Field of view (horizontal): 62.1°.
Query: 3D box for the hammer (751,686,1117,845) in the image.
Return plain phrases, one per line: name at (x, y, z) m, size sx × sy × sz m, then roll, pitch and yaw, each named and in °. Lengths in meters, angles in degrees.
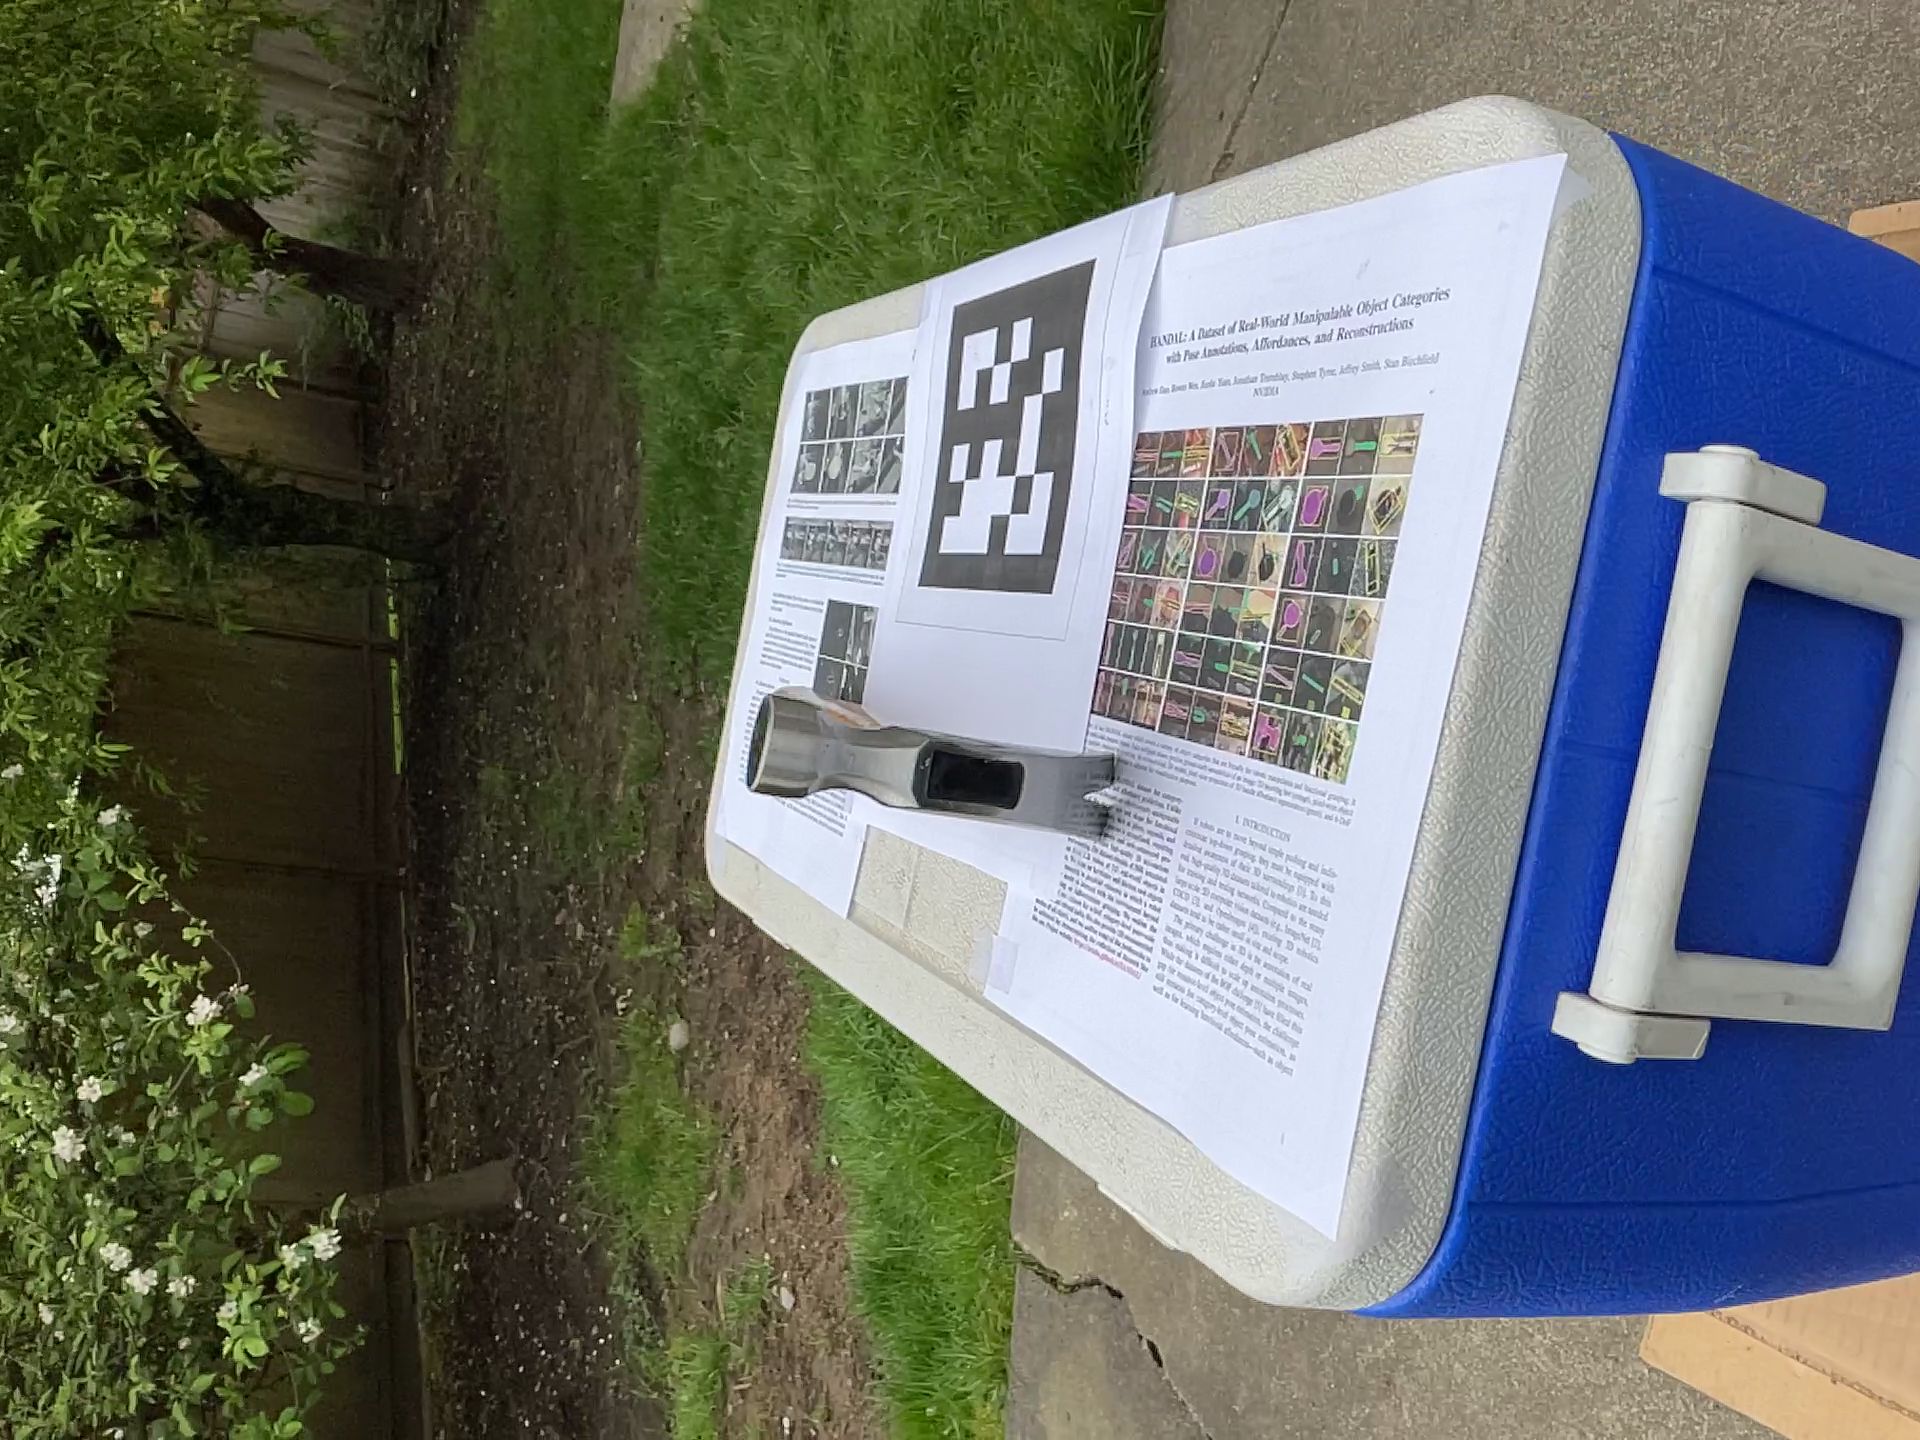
hammer at (-0.035, 0.009, 0.640) m, size 0.331 × 0.130 × 0.031 m, roll -164°, pitch 86°, yaw -75°
